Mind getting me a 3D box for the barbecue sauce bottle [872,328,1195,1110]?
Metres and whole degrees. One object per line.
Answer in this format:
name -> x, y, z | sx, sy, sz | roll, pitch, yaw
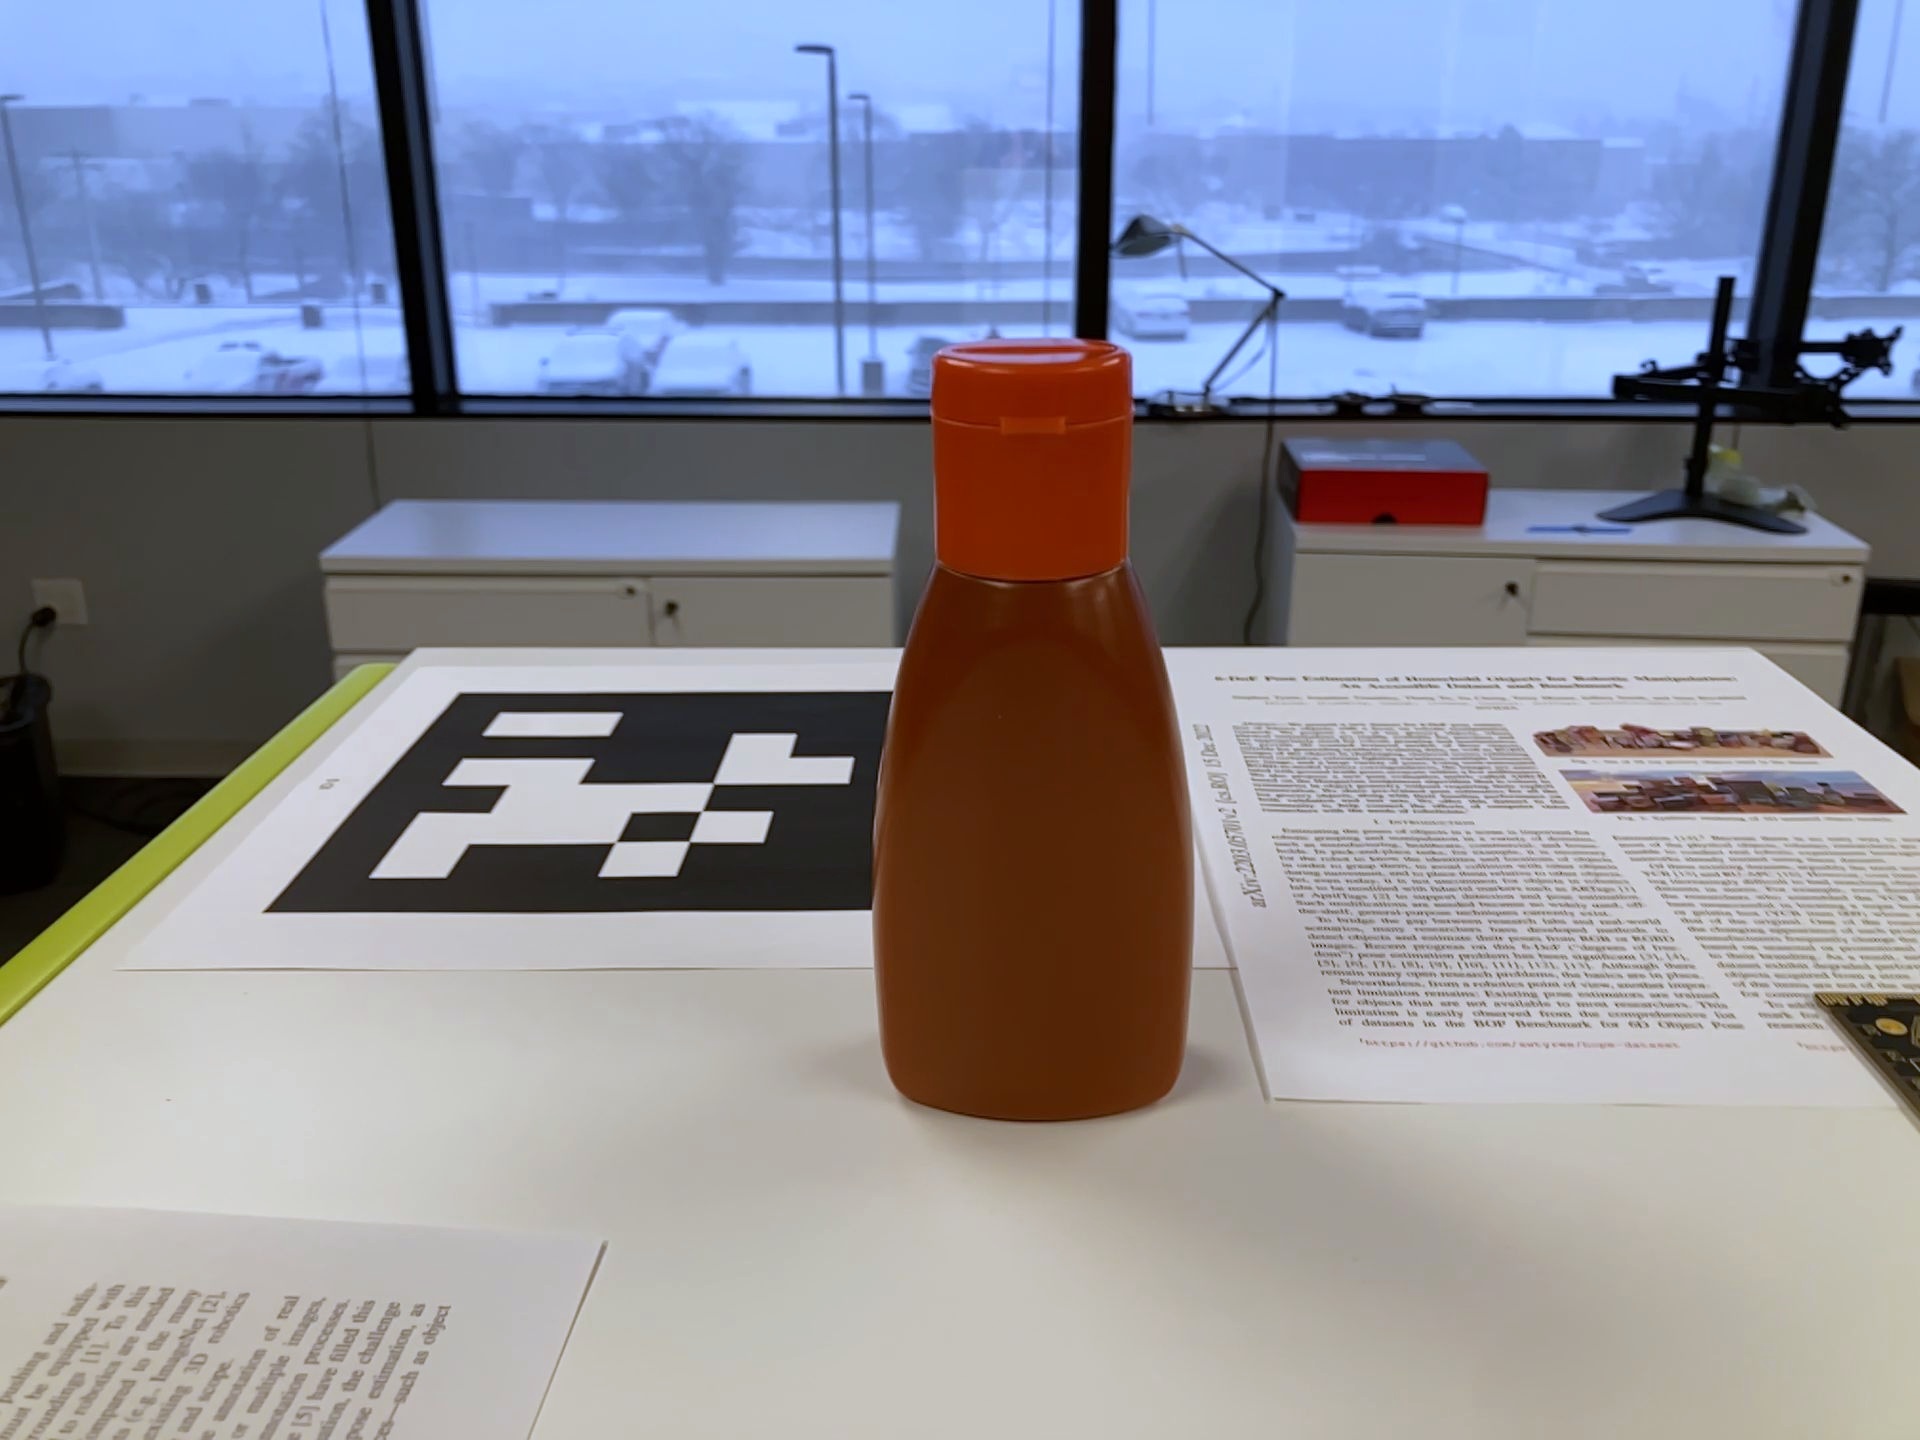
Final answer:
barbecue sauce bottle -> 0.014, 0.002, 0.308 | 0.065, 0.148, 0.043 | 0, 20, 3
